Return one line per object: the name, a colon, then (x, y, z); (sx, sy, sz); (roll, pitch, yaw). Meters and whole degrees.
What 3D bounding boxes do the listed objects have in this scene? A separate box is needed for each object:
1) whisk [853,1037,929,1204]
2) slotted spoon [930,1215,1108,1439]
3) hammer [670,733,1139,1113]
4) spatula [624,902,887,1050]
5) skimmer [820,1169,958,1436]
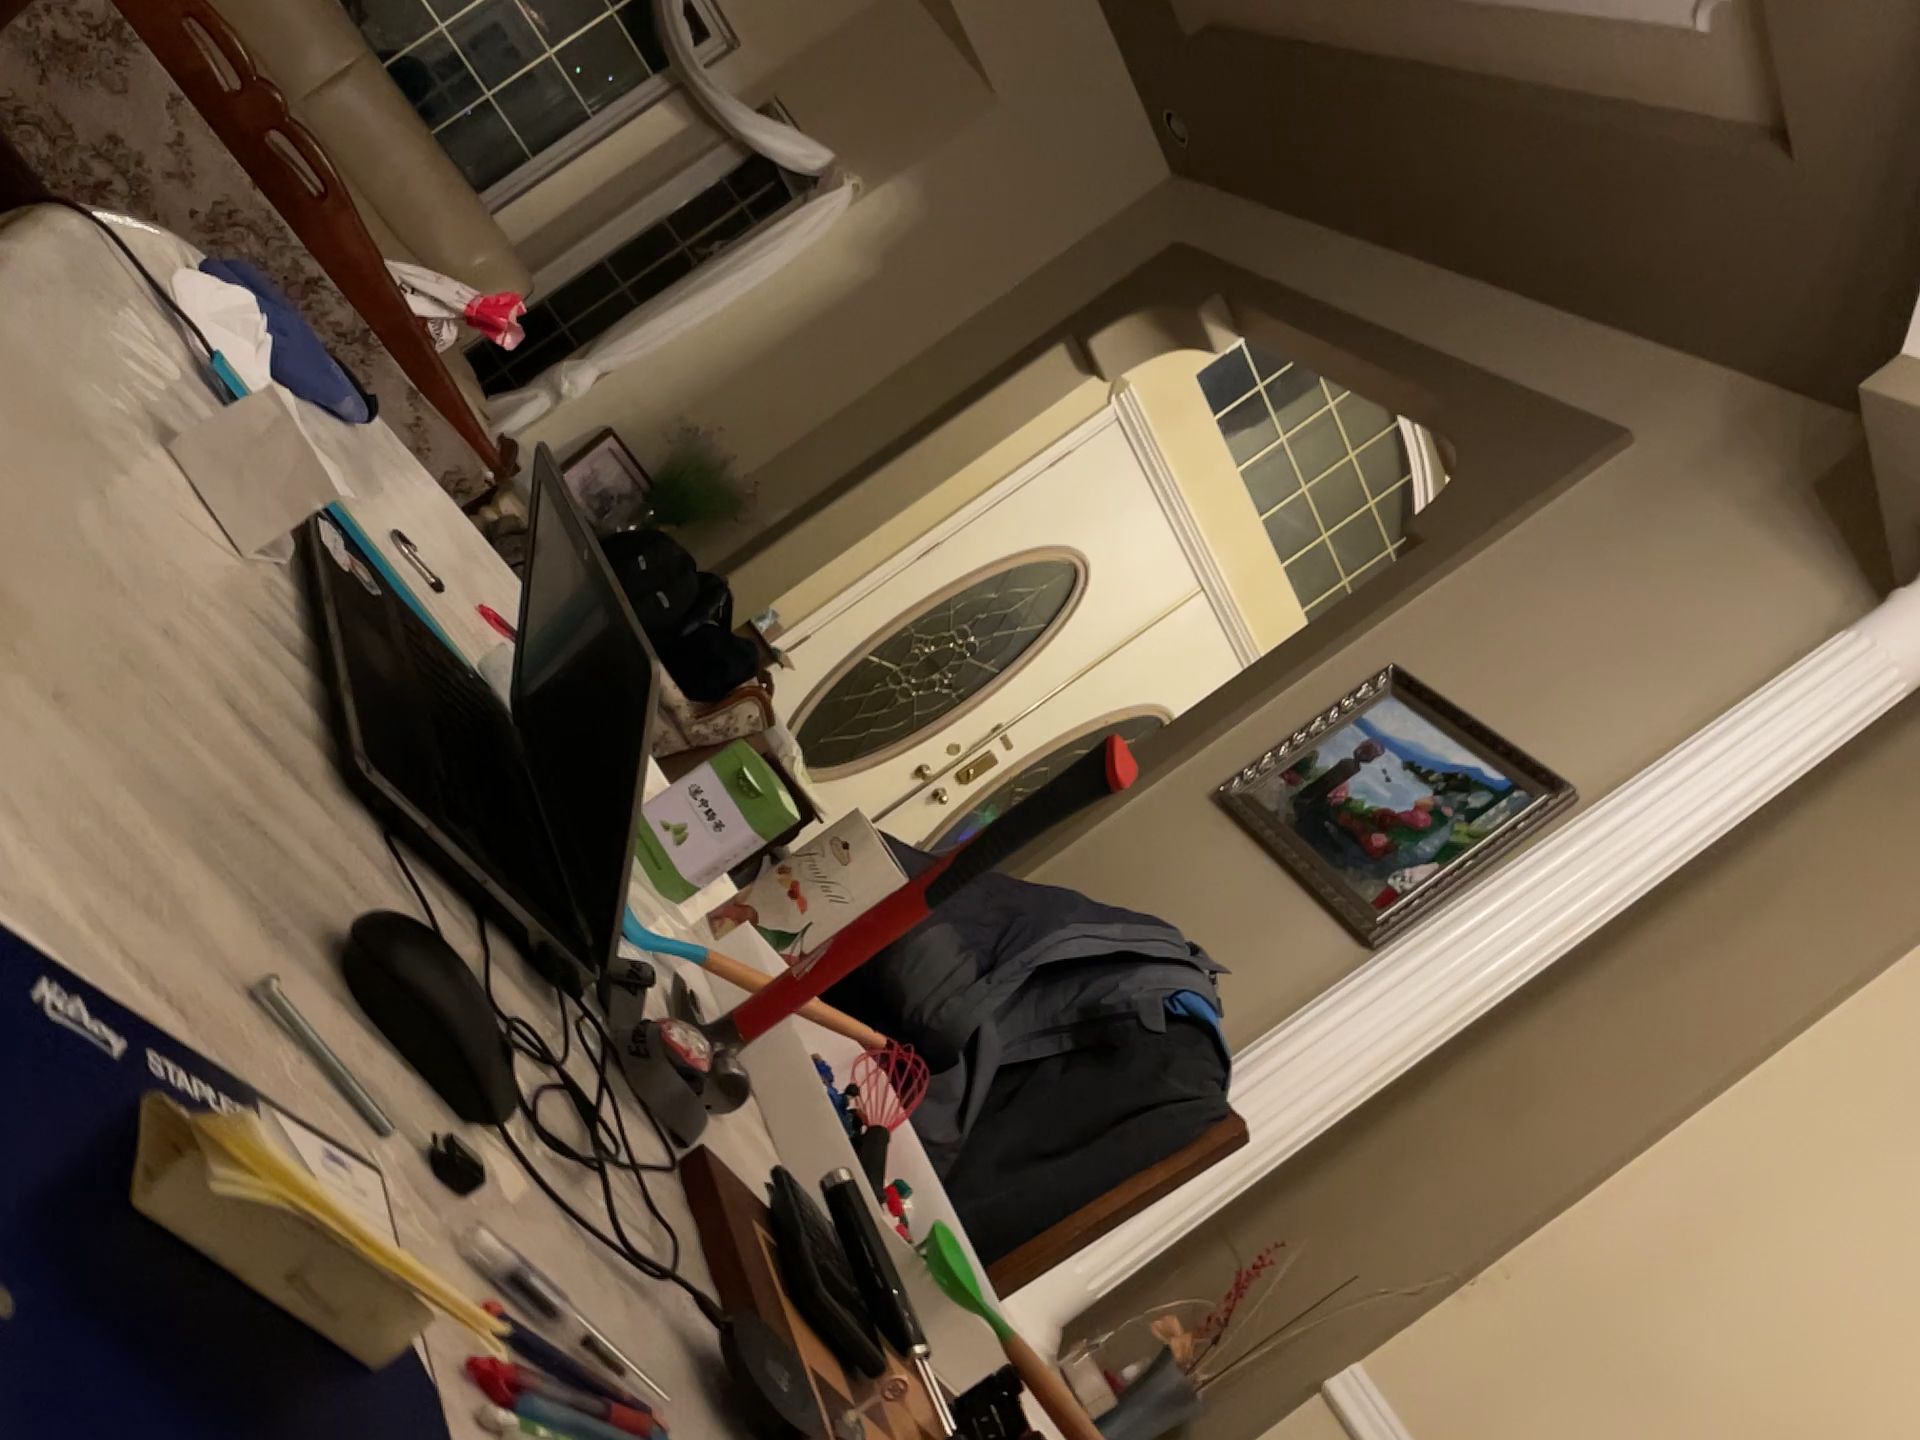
whisk: (-0.071, 0.358, 1.407); (0.073, 0.073, 0.296); (37, 13, -5)
slotted spoon: (0.046, 0.422, 1.047); (0.070, 0.031, 0.314); (58, -13, -24)
hammer: (-0.041, 0.126, 1.156); (0.038, 0.386, 0.143); (56, -3, -32)
spatula: (-0.176, 0.191, 1.263); (0.317, 0.044, 0.082); (32, 7, -28)
skimmer: (0.026, 0.408, 0.921); (0.364, 0.090, 0.127); (58, 1, 32)
